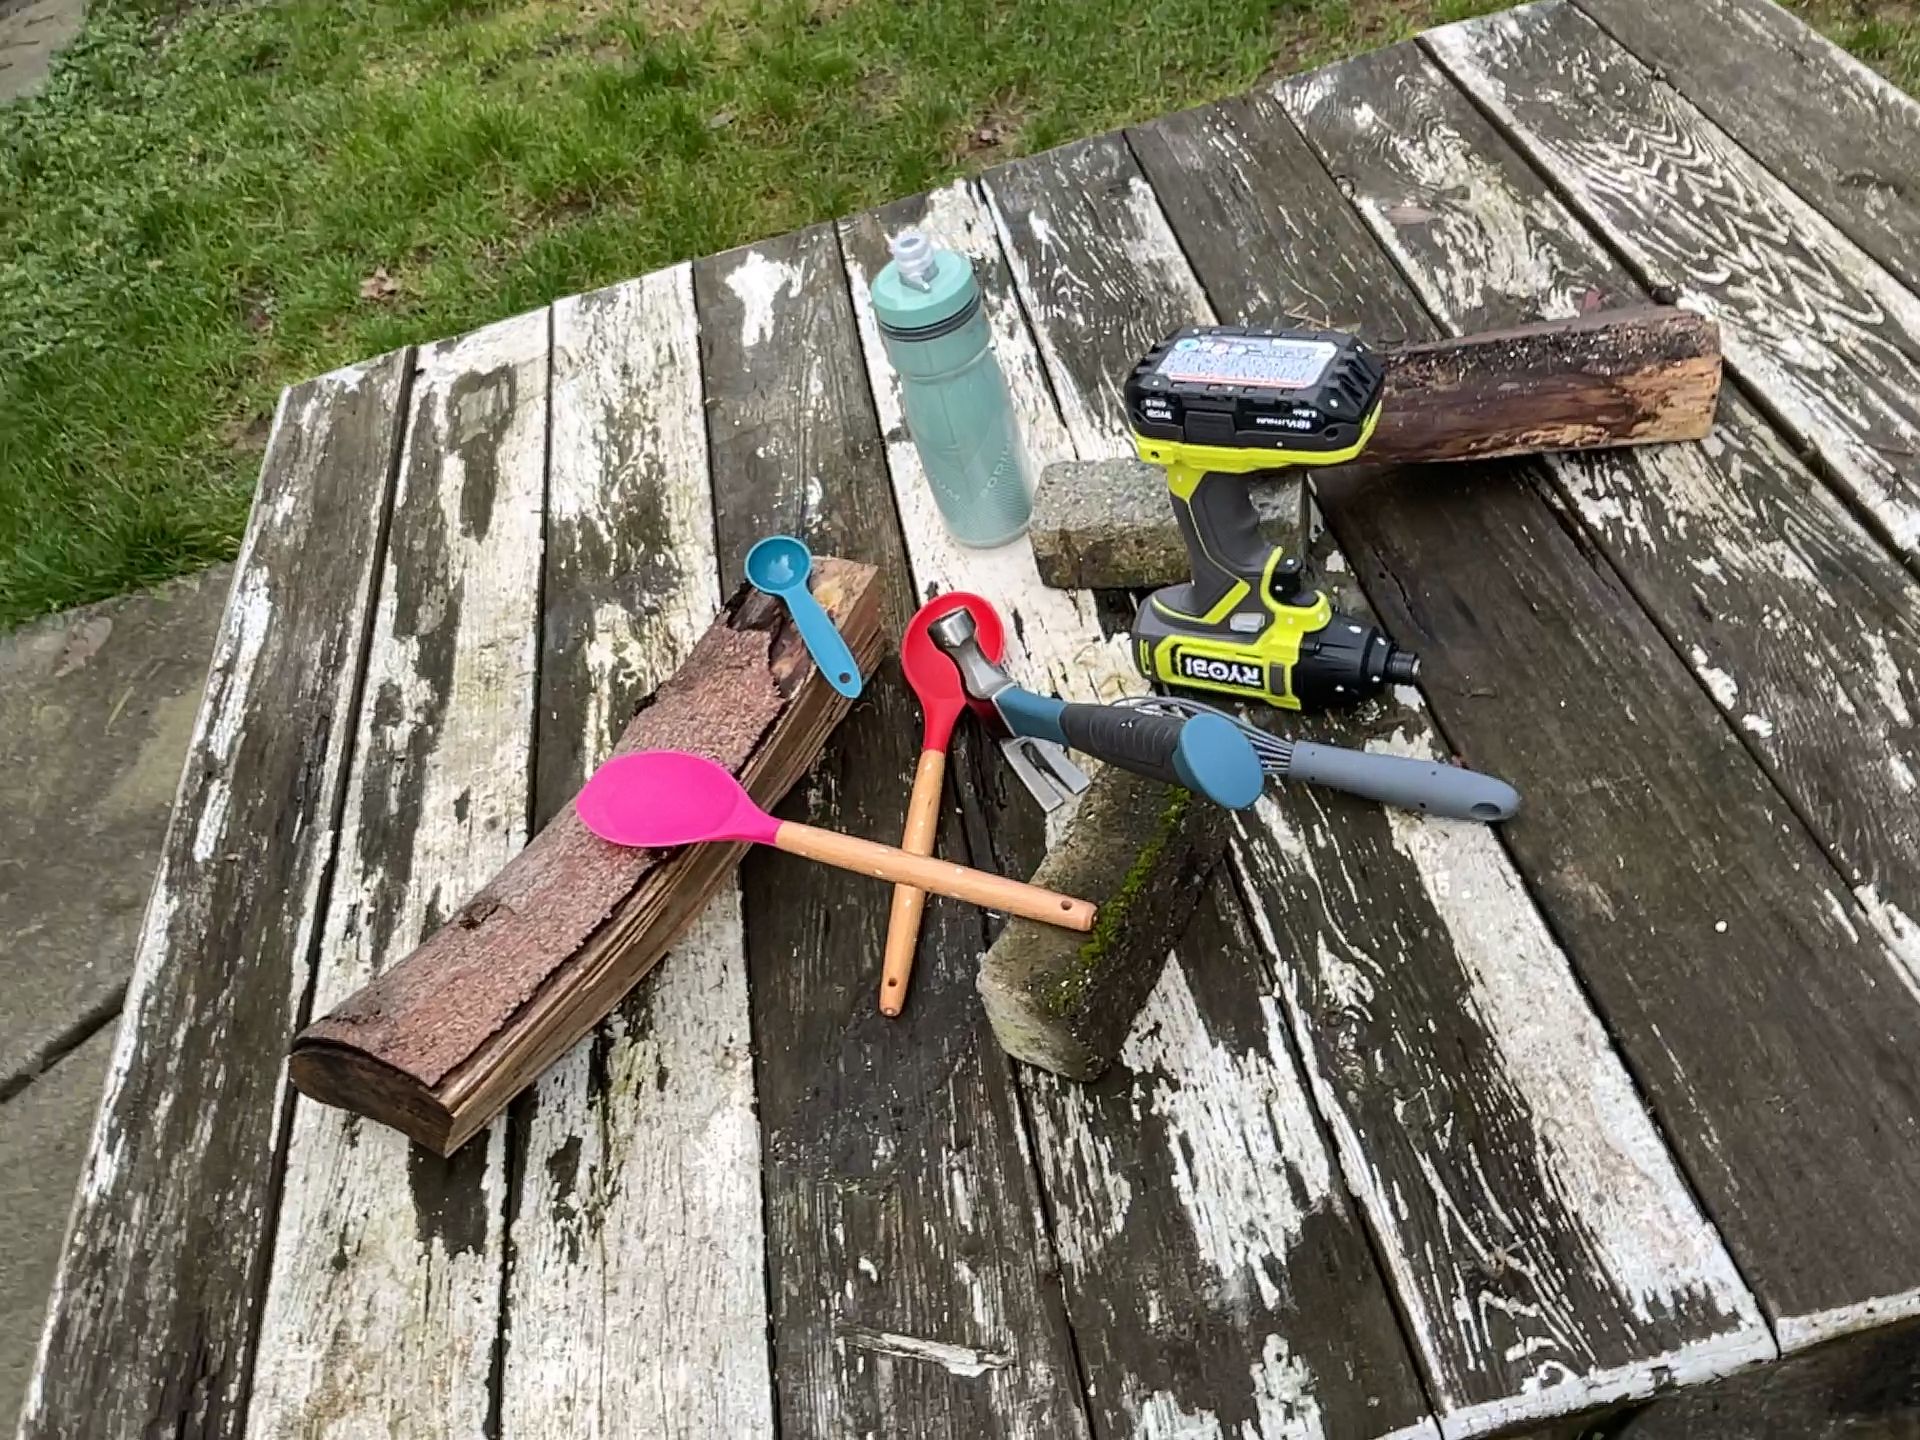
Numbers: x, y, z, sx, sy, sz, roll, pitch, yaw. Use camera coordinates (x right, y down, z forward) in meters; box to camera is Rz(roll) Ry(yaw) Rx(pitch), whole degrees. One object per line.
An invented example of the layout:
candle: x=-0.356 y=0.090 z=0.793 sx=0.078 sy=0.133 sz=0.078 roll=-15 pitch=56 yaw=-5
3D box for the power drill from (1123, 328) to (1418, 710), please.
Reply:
power drill: x=0.179 y=-0.107 z=0.924 sx=0.171 sy=0.223 sz=0.080 roll=10 pitch=44 yaw=25

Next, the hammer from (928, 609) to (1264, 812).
hammer: x=0.069 y=0.004 z=0.853 sx=0.033 sy=0.128 sz=0.331 roll=-34 pitch=14 yaw=-12

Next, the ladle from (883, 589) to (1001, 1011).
ladle: x=-0.019 y=0.041 z=0.991 sx=0.069 sy=0.031 sz=0.316 roll=-3 pitch=49 yaw=14

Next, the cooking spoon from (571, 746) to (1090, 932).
cooking spoon: x=-0.078 y=0.068 z=0.869 sx=0.319 sy=0.017 sz=0.069 roll=13 pitch=52 yaw=24

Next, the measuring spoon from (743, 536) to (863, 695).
measuring spoon: x=-0.095 y=-0.062 z=1.007 sx=0.042 sy=0.021 sz=0.129 roll=-29 pitch=67 yaw=-10

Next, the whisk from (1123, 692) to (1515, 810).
whisk: x=0.193 y=0.021 z=0.913 sx=0.239 sy=0.055 sz=0.055 roll=10 pitch=59 yaw=23
